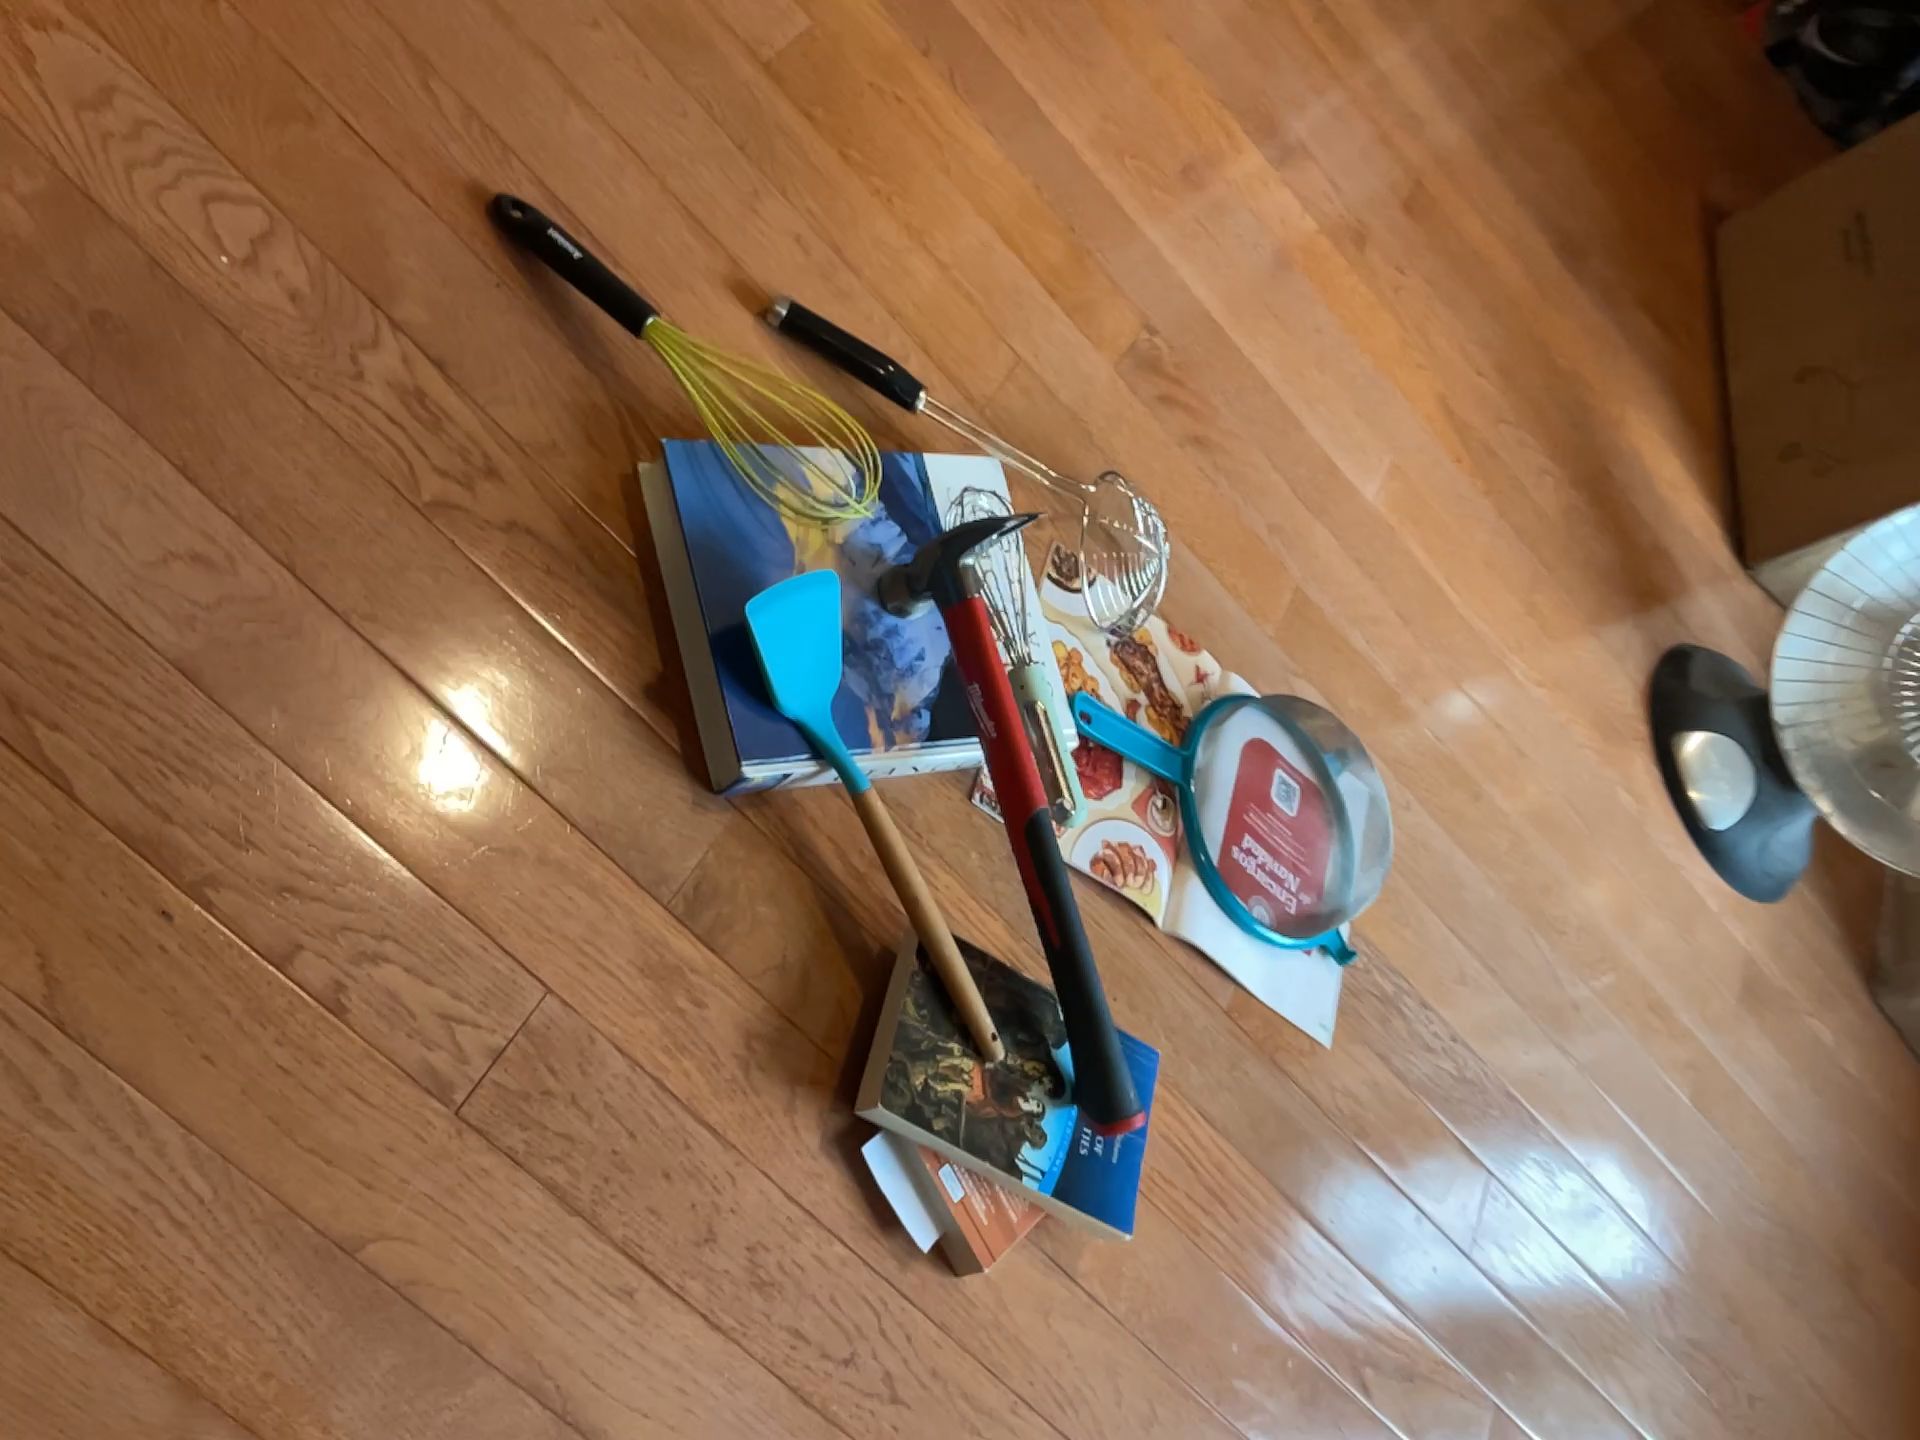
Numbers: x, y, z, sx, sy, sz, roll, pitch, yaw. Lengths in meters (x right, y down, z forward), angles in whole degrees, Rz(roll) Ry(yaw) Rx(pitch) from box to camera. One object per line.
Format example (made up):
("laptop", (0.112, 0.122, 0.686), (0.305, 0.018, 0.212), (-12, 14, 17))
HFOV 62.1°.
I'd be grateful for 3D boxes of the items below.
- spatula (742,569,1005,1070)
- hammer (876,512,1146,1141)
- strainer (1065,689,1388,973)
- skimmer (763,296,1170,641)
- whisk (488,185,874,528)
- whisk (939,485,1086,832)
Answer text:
("spatula", (-0.043, 0.066, 0.959), (0.082, 0.044, 0.317), (-26, 89, -45))
("hammer", (0.052, 0.066, 0.985), (0.038, 0.143, 0.386), (-13, 83, -39))
("strainer", (0.223, 0.045, 1.195), (0.340, 0.095, 0.211), (30, 55, -36))
("skimmer", (0.007, -0.187, 1.174), (0.363, 0.090, 0.128), (29, 56, -14))
("whisk", (-0.175, -0.229, 0.995), (0.311, 0.067, 0.080), (41, 64, -1))
("whisk", (0.039, -0.042, 1.080), (0.059, 0.057, 0.246), (-8, 80, -73))
